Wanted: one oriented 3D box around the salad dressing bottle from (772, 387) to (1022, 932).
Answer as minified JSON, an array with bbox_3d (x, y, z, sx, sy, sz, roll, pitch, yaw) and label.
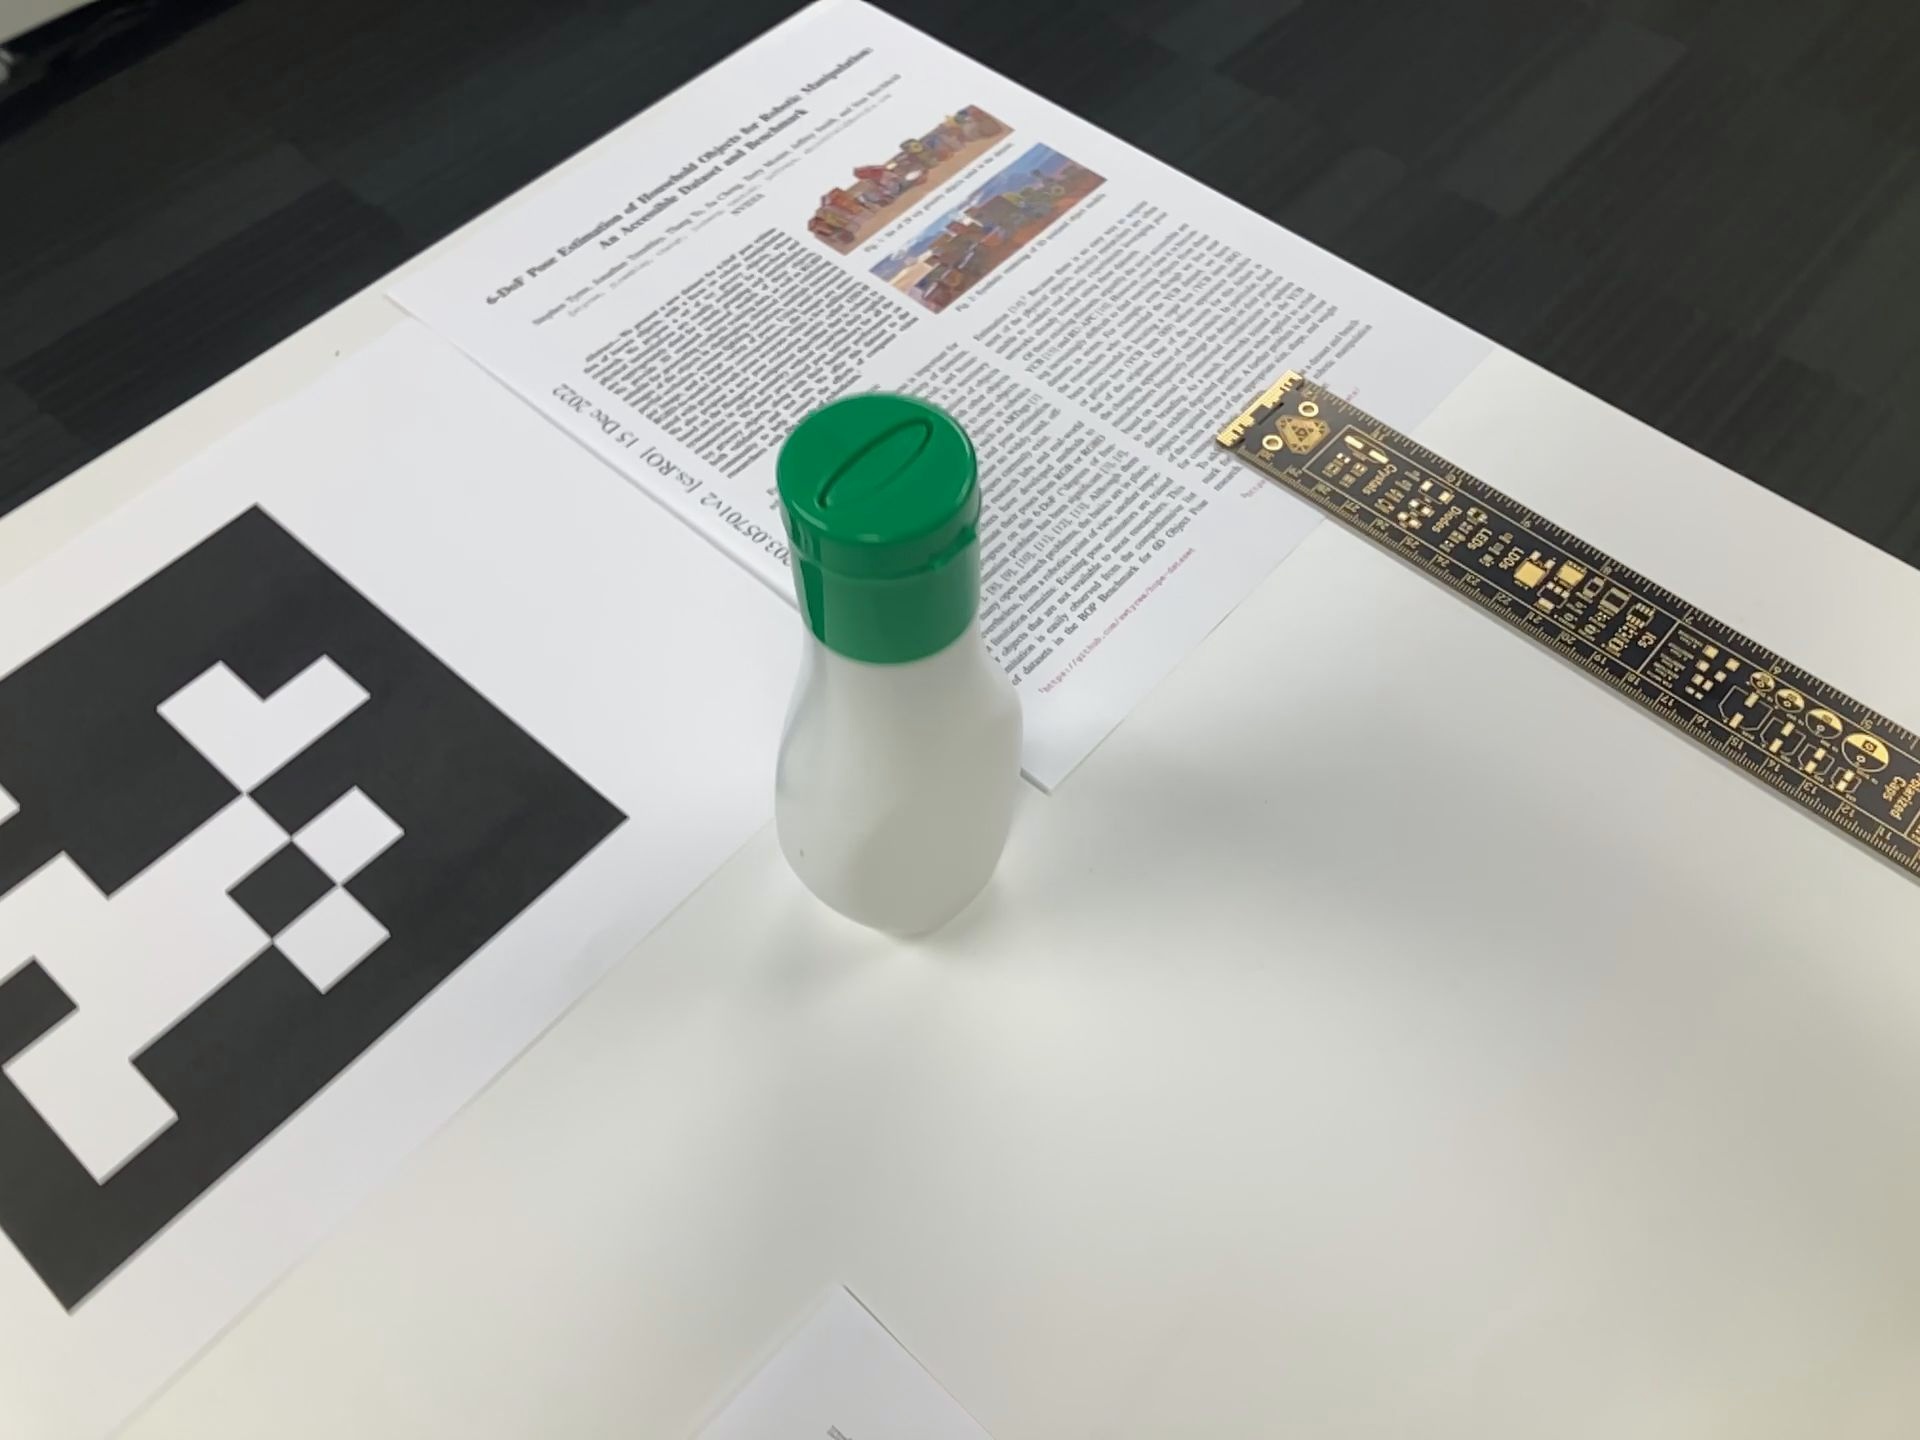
[{"bbox_3d":[-0.014,-0.006,0.341,0.044,0.147,0.064,37,64,21],"label":"salad dressing bottle"}]
